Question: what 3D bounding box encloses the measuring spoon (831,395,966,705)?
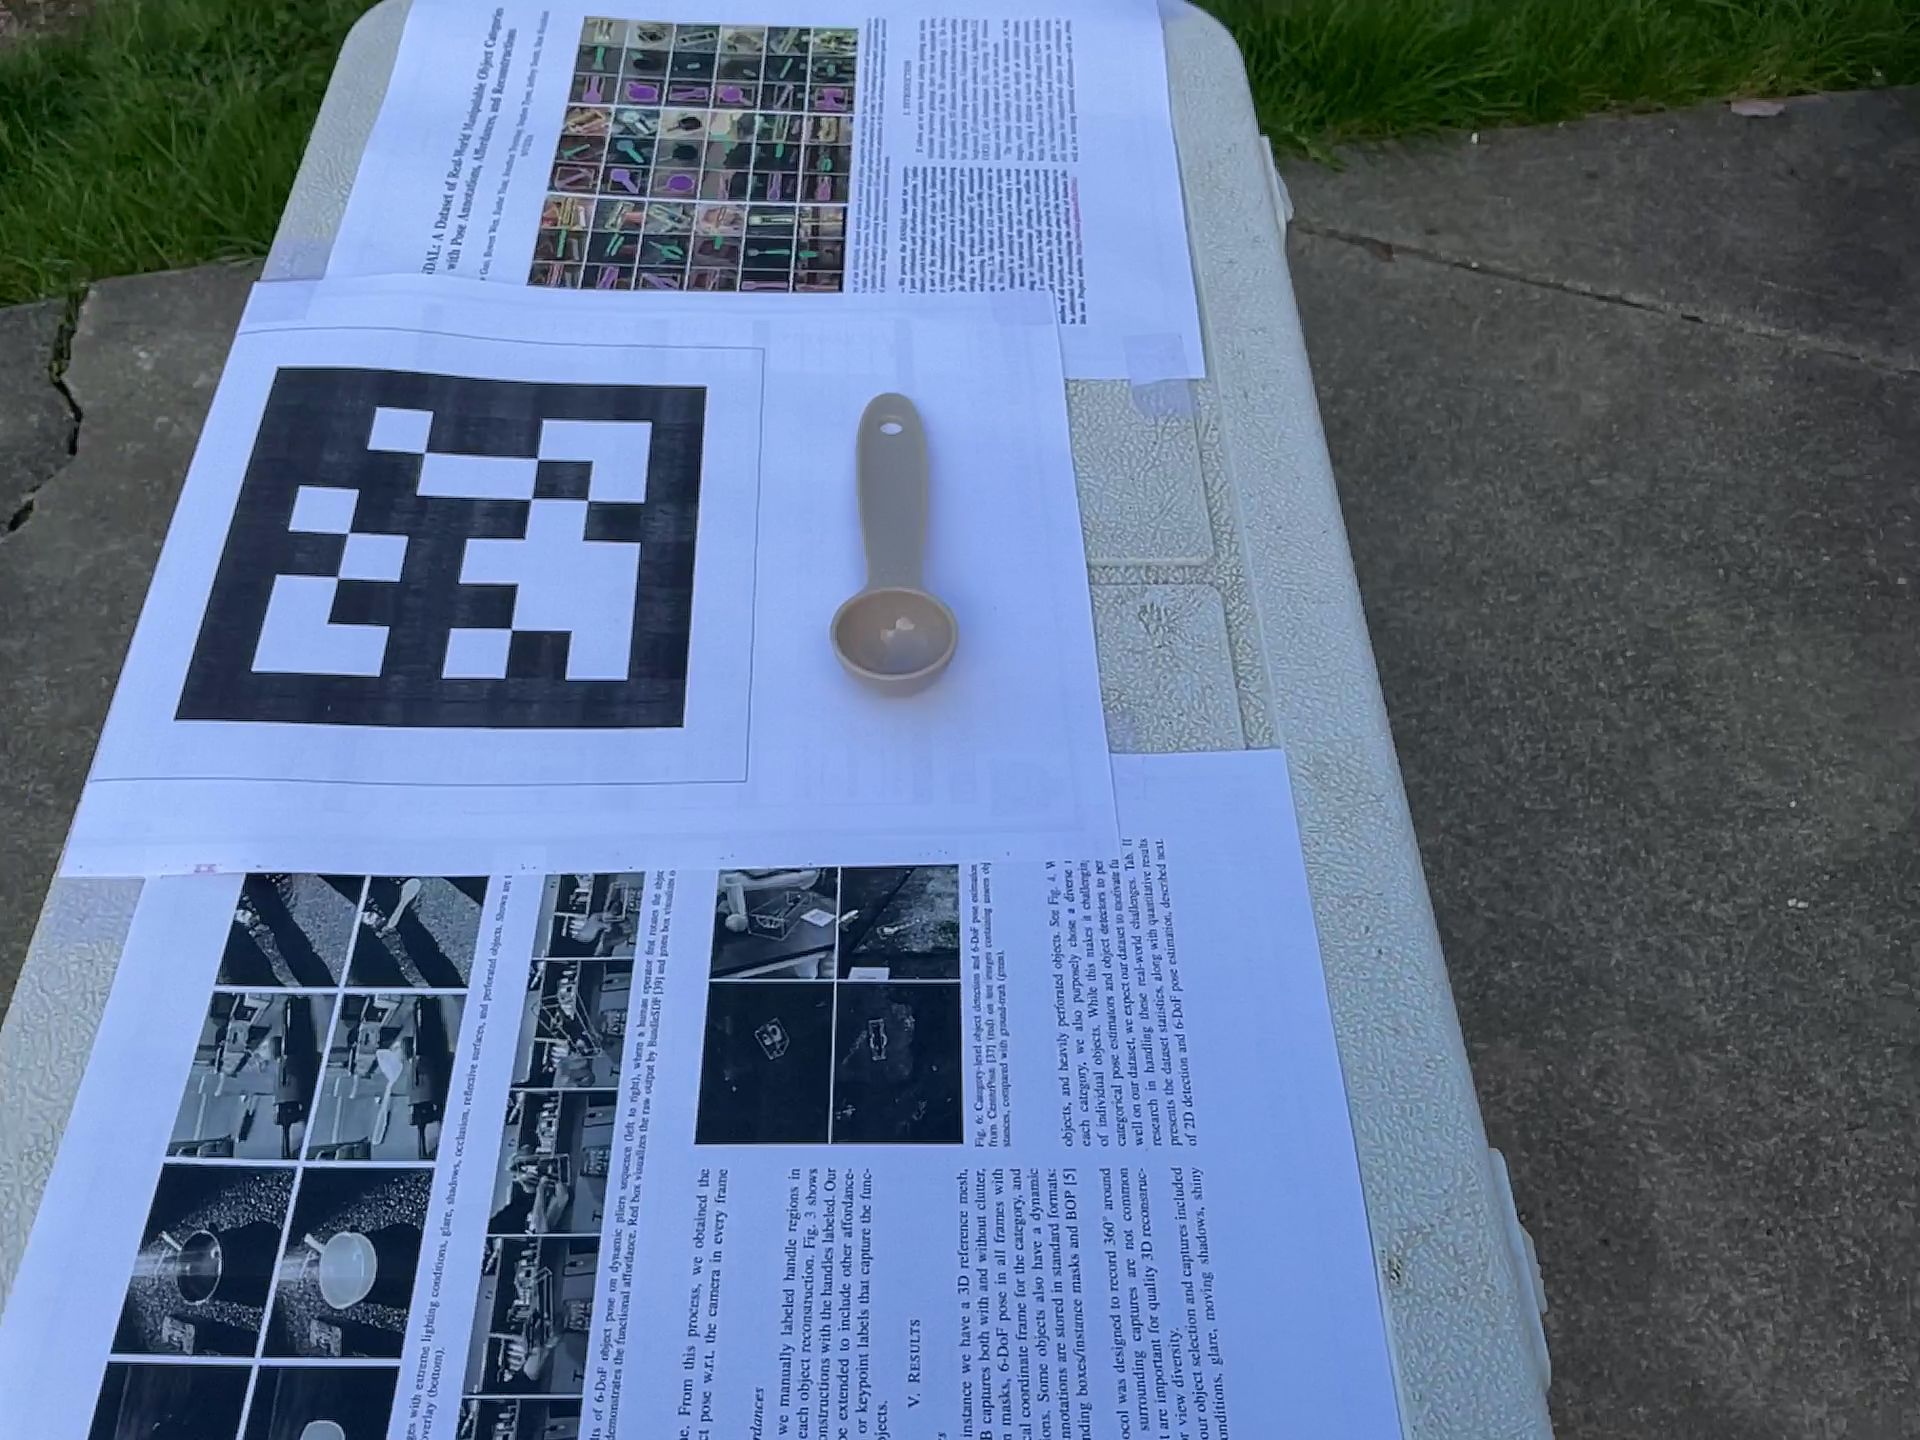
[{"bbox_3d":[-0.018,-0.049,0.447,0.034,0.018,0.124,-1,47,-2],"label":"measuring spoon"}]
